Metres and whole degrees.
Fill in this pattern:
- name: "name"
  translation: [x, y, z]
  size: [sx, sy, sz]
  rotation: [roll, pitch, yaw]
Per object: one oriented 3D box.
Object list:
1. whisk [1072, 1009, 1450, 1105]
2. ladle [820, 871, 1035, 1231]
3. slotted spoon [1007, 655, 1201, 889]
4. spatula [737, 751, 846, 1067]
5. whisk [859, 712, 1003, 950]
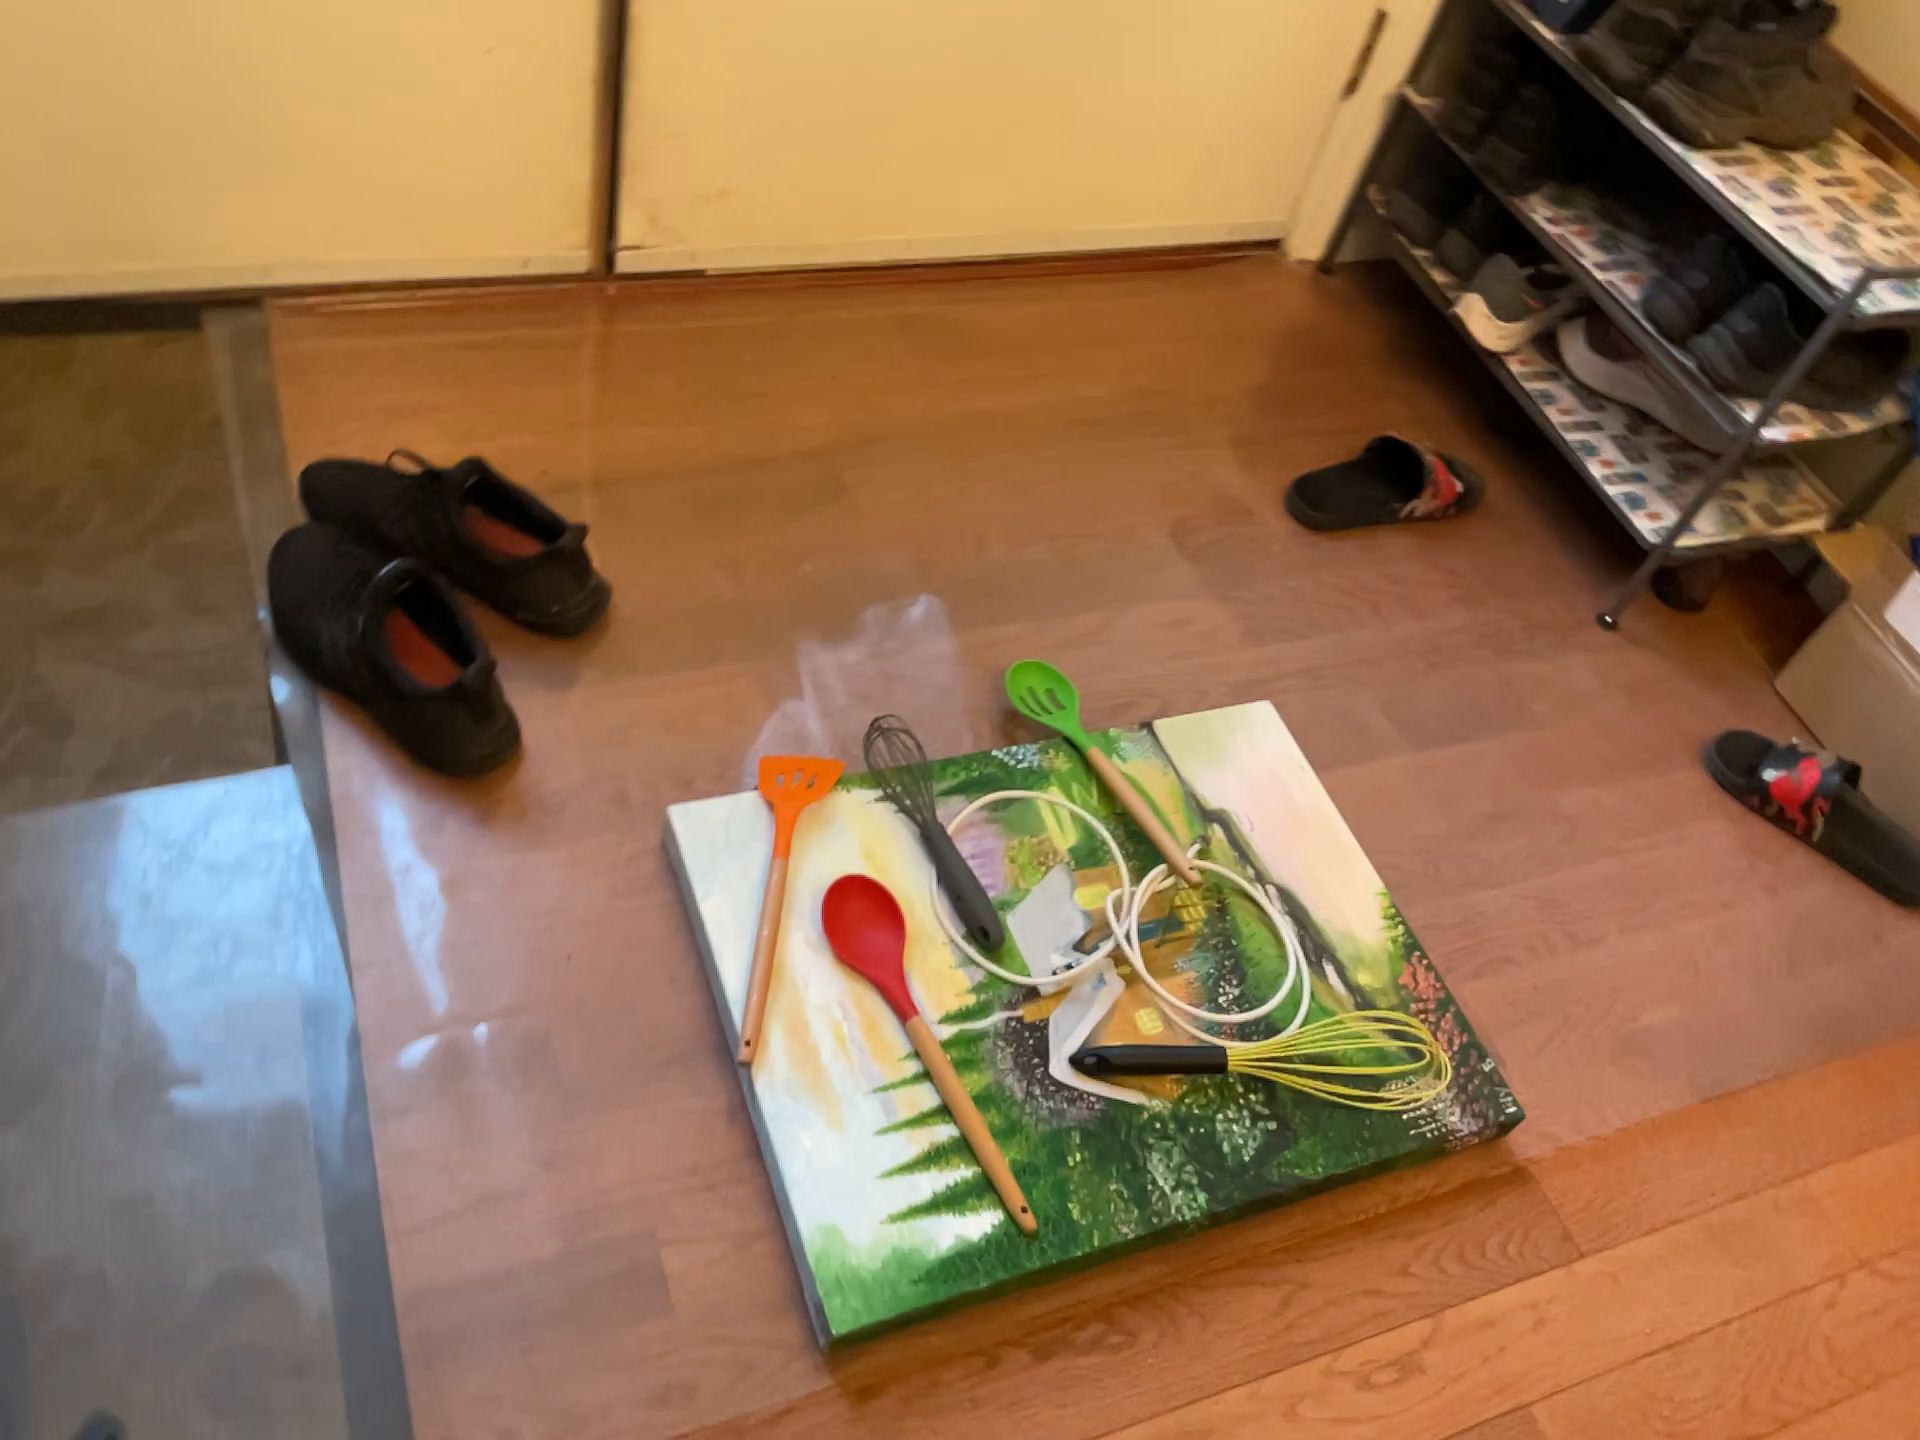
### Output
- name: "whisk"
  translation: [0.243, 0.273, 1.283]
  size: [0.311, 0.067, 0.080]
  rotation: [1, 45, -8]
- name: "ladle"
  translation: [-0.024, 0.253, 1.237]
  size: [0.069, 0.031, 0.316]
  rotation: [-18, 60, -27]
- name: "slotted spoon"
  translation: [0.130, 0.045, 1.450]
  size: [0.070, 0.031, 0.314]
  rotation: [-11, 43, -25]
- name: "spatula"
  translation: [-0.152, 0.141, 1.308]
  size: [0.081, 0.041, 0.323]
  rotation: [4, 50, 2]
- name: "whisk"
  translation: [-0.023, 0.093, 1.360]
  size: [0.055, 0.055, 0.239]
  rotation: [-22, 65, -18]
